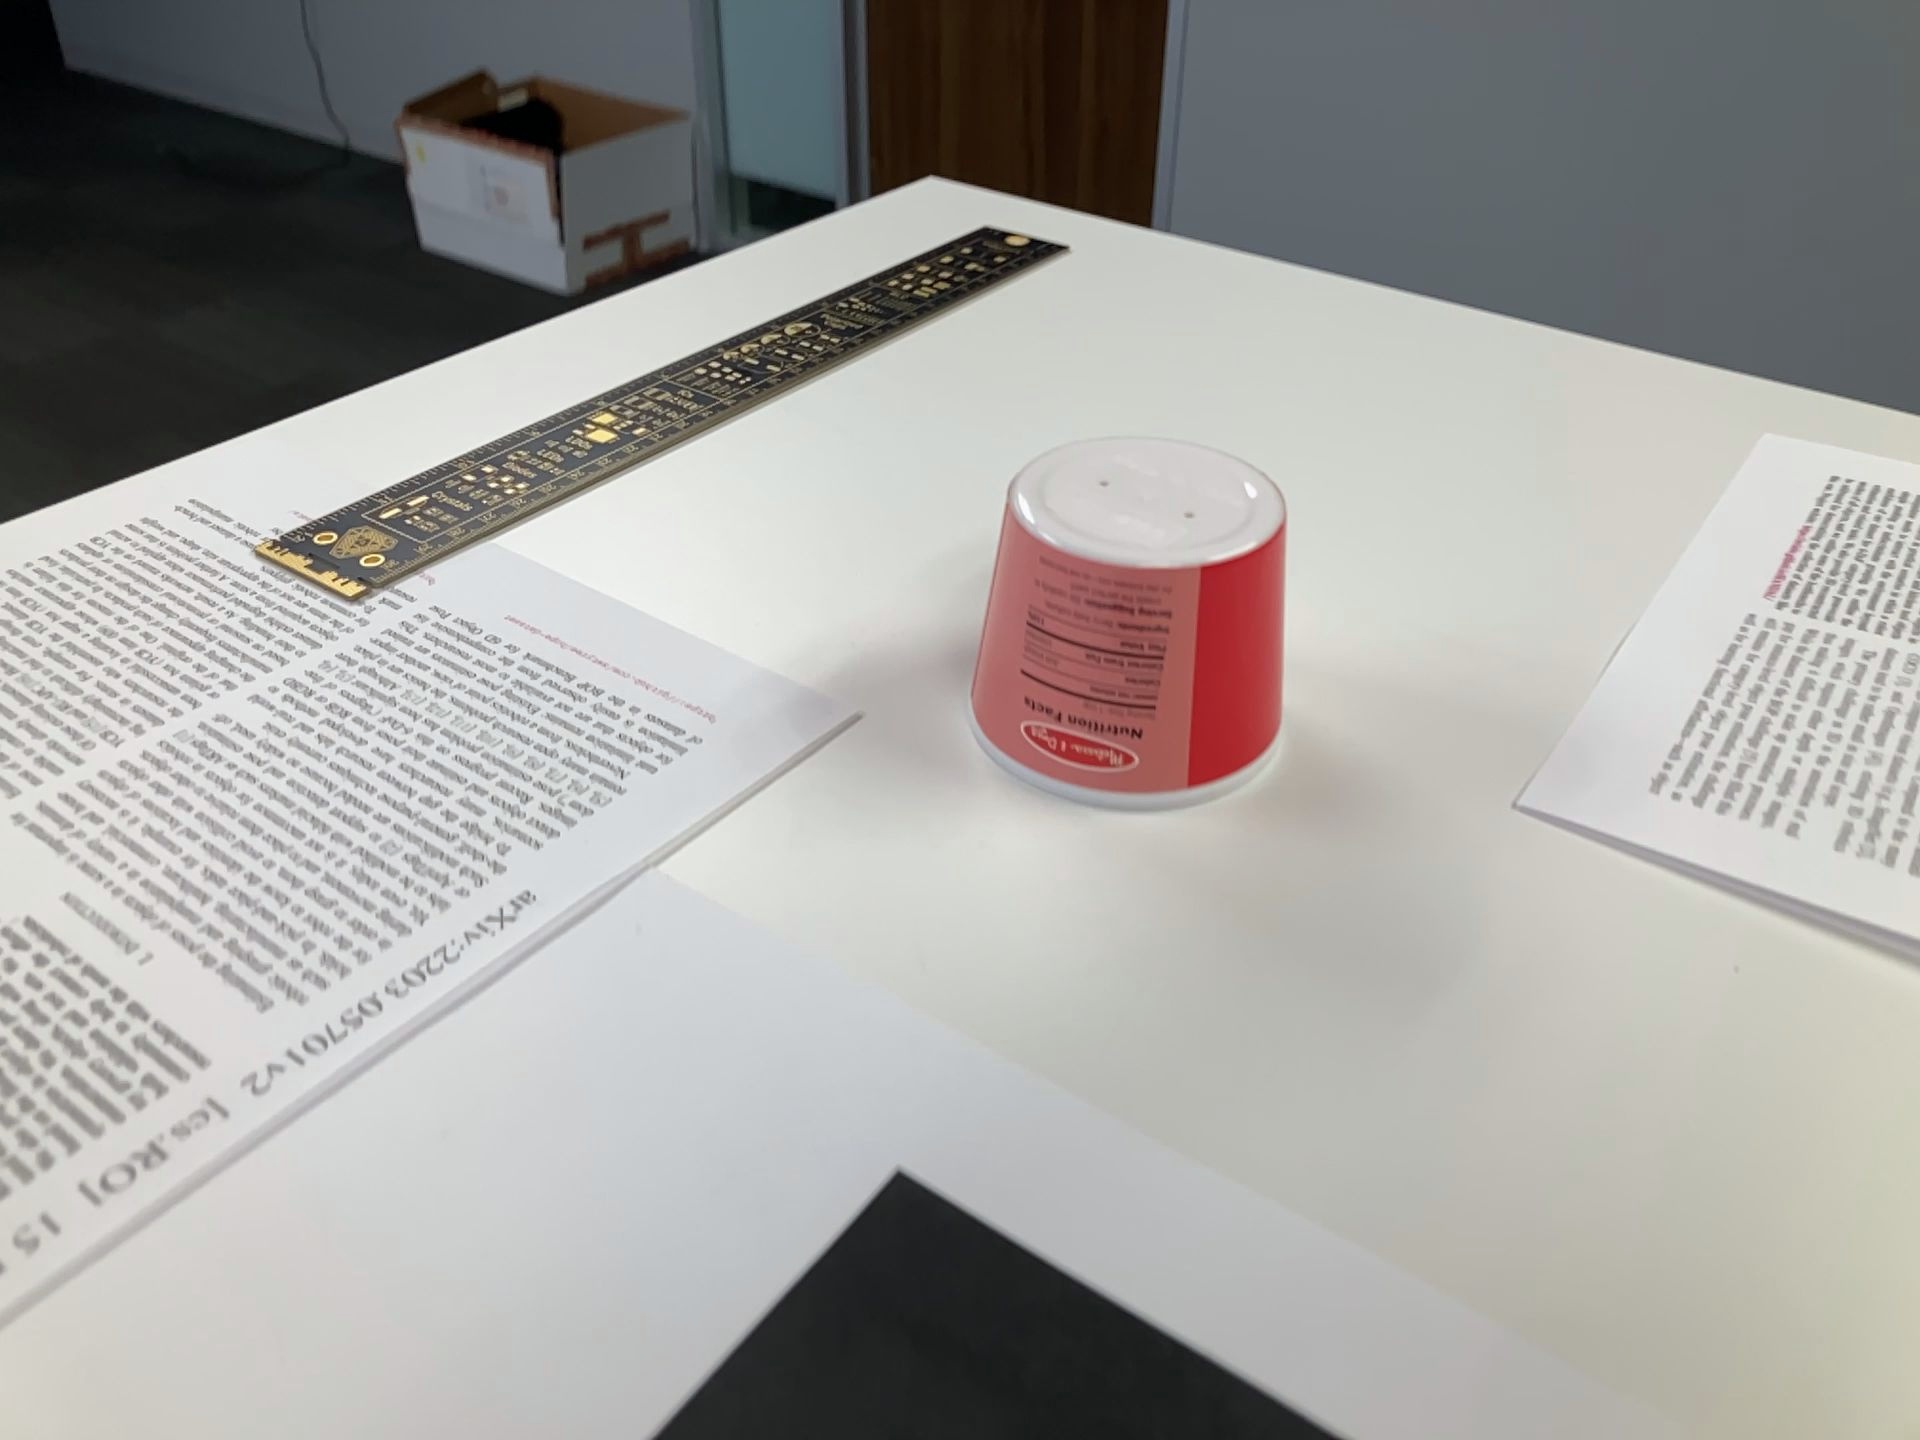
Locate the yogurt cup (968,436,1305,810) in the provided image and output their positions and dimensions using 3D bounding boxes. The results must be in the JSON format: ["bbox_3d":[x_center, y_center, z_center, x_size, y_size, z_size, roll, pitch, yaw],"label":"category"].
[{"bbox_3d":[0.037,-0.023,0.326,0.072,0.054,0.072,2,36,-1],"label":"yogurt cup"}]
